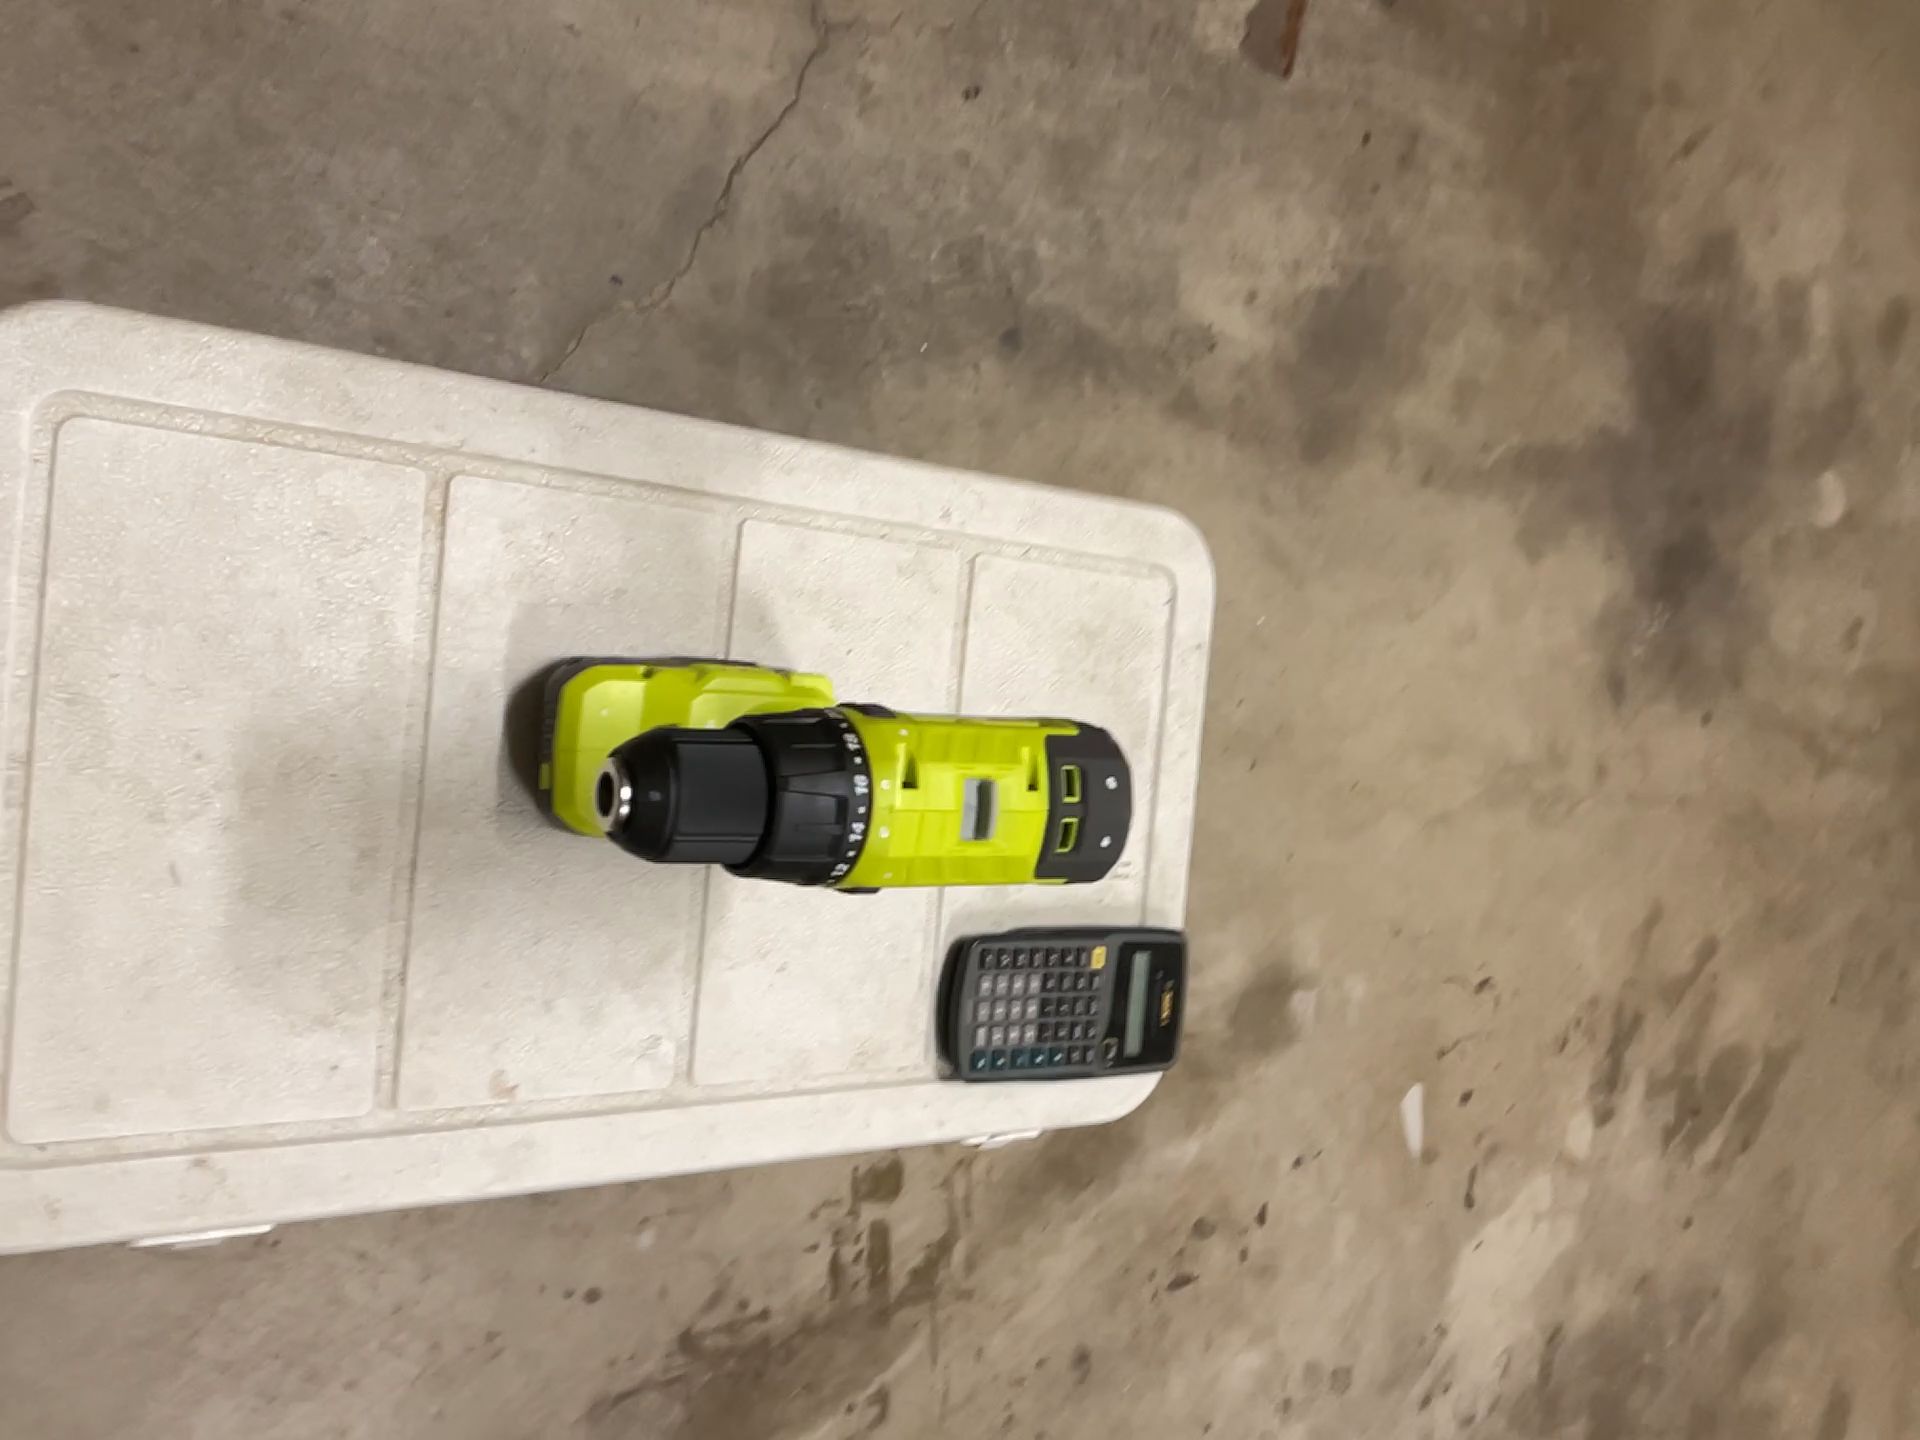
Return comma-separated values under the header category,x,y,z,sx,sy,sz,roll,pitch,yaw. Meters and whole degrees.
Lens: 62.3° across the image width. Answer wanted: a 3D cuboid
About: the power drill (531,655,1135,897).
category,x,y,z,sx,sy,sz,roll,pitch,yaw
power drill,-0.075,0.020,0.595,0.191,0.228,0.080,3,93,-34
